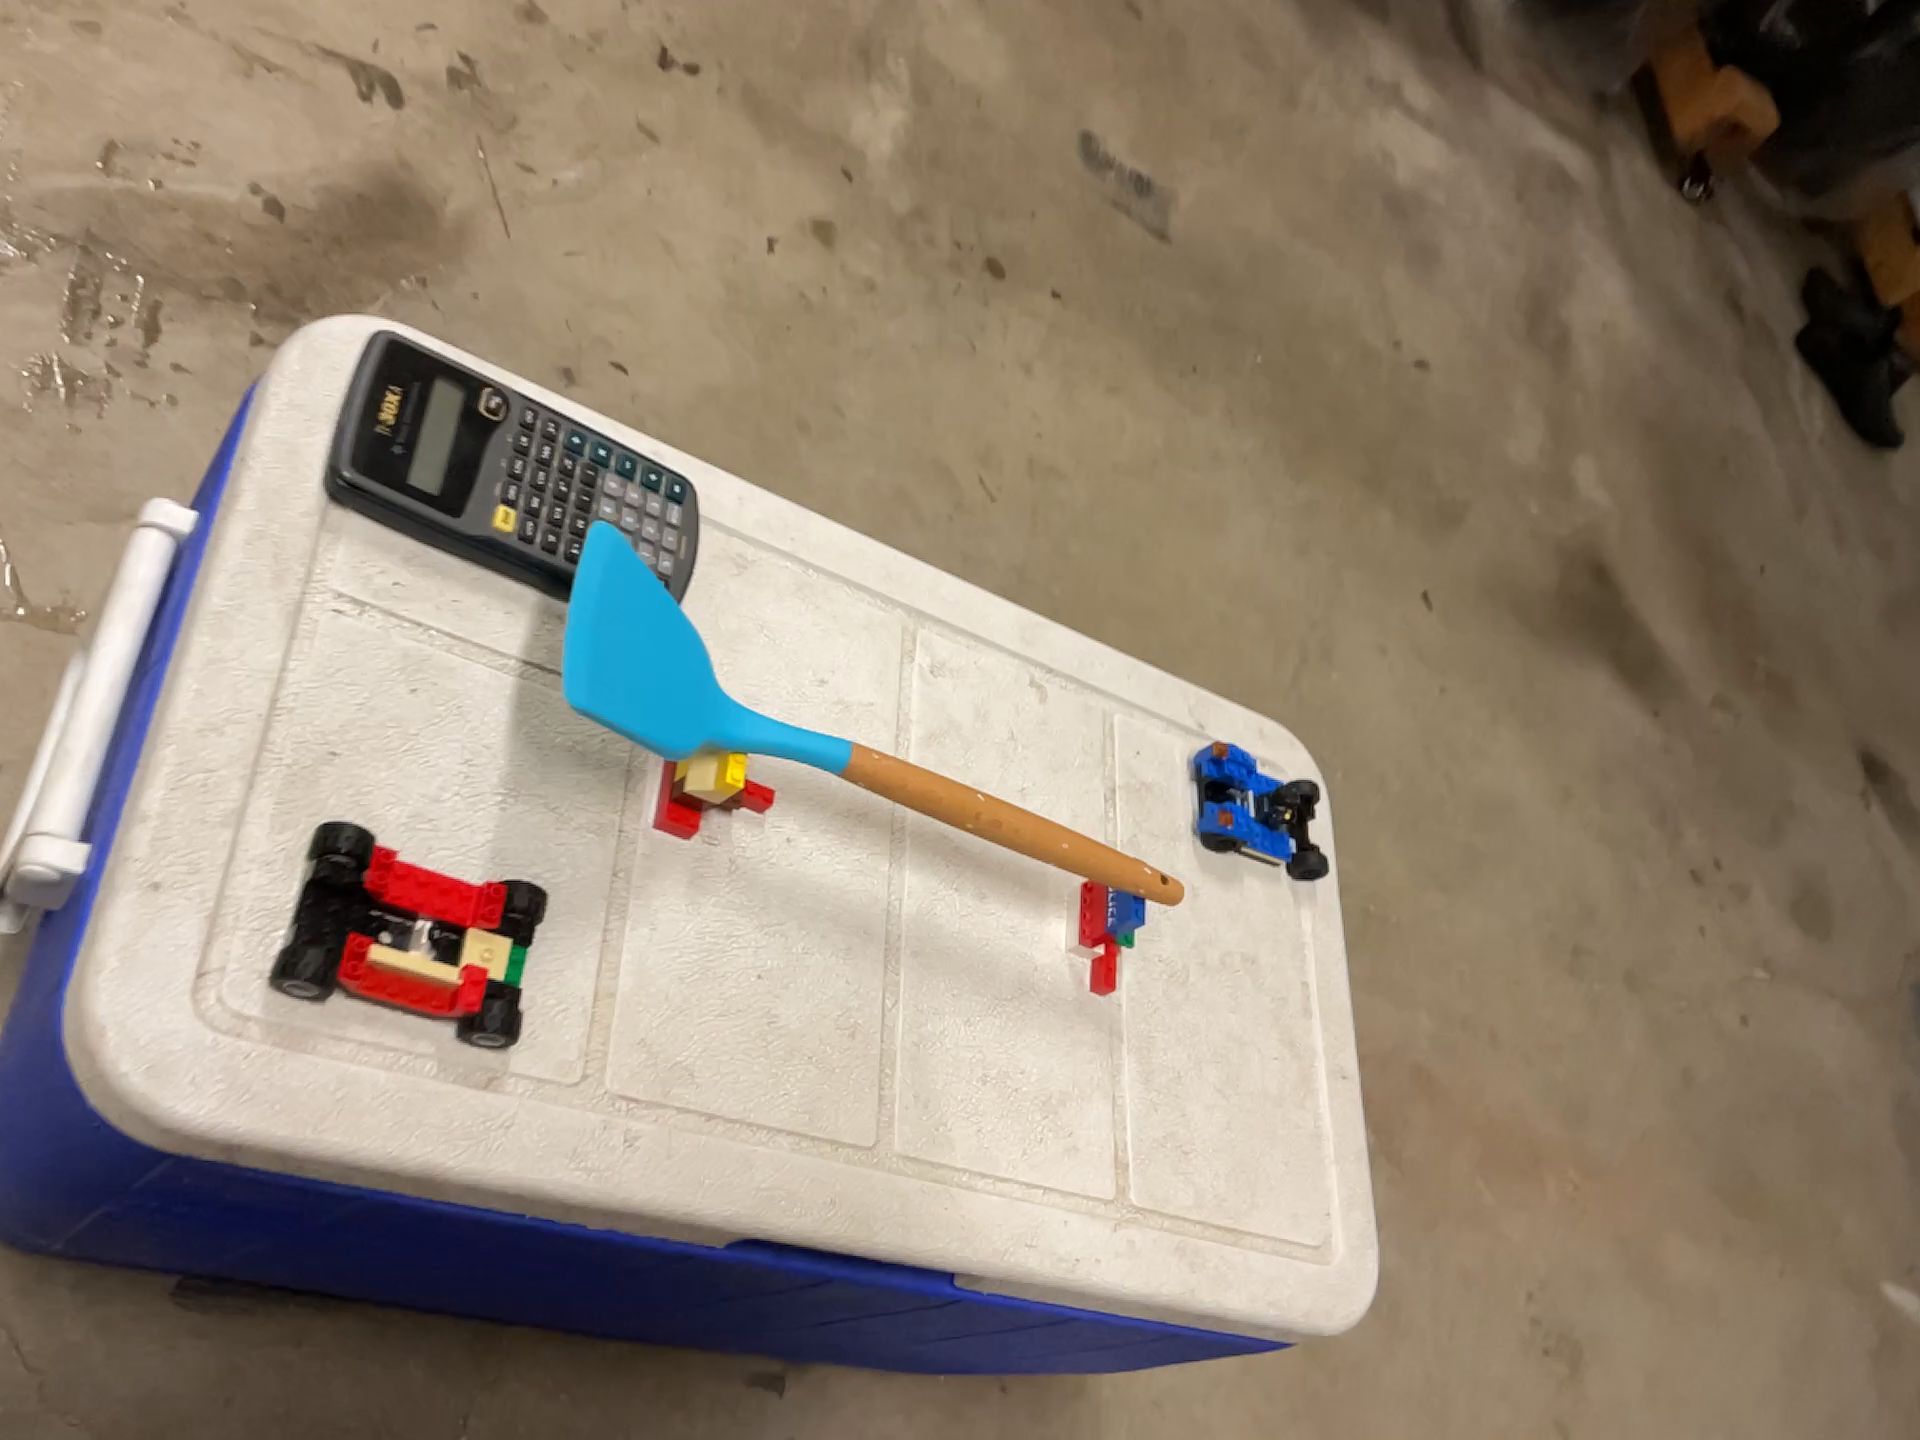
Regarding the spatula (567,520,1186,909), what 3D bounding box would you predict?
[{"bbox_3d":[-0.020,0.022,0.649,0.317,0.044,0.083,24,51,-29],"label":"spatula"}]
